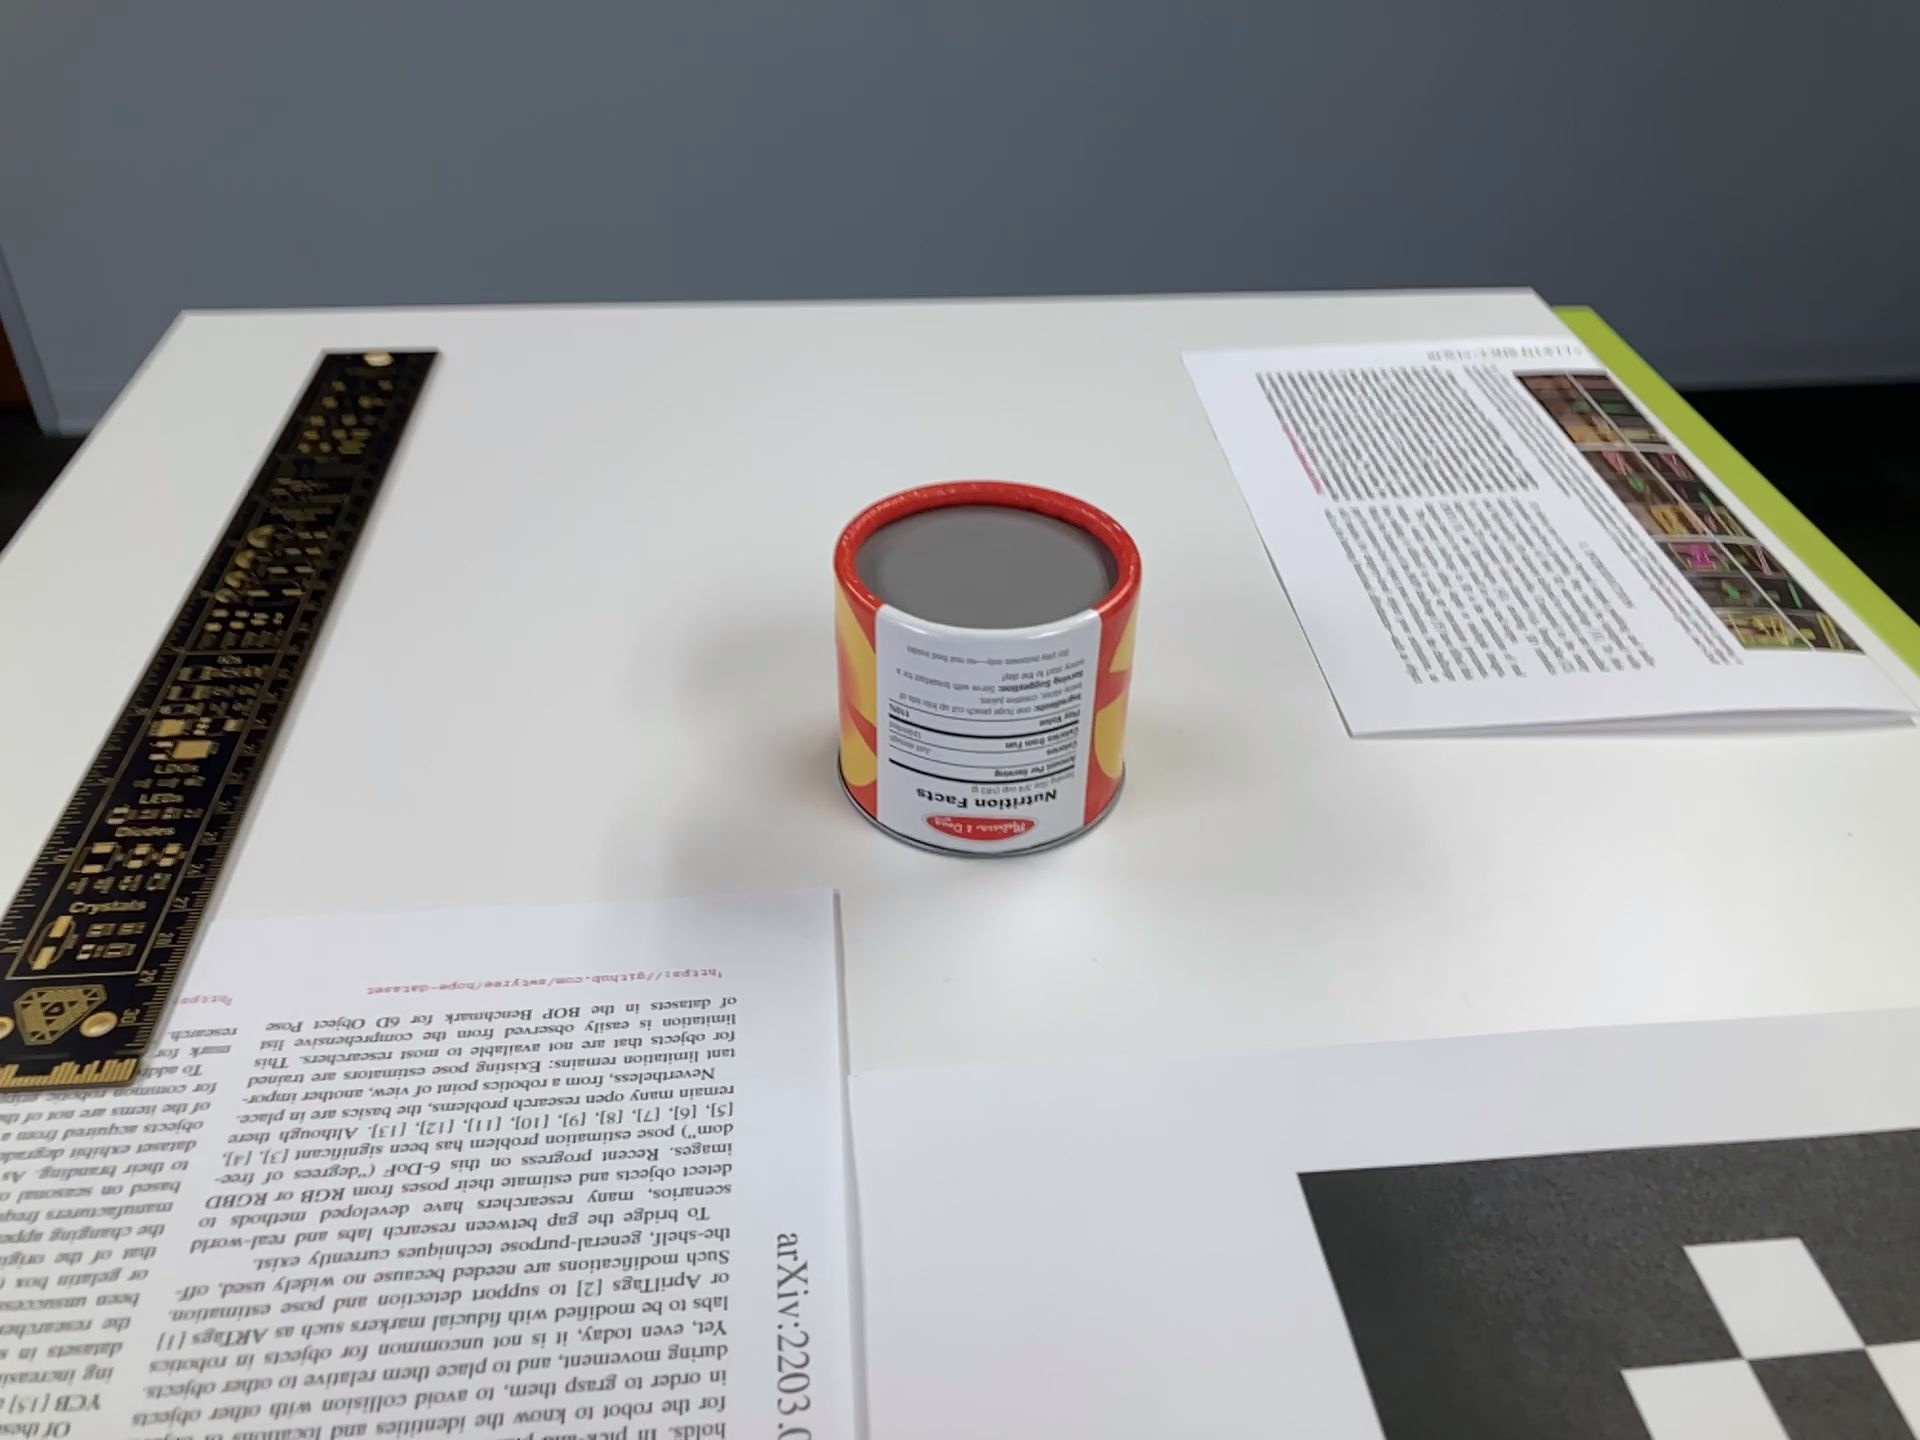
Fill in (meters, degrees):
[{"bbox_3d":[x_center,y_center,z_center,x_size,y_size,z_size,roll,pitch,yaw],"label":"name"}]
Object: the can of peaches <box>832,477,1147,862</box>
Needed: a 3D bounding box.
[{"bbox_3d":[0.005,-0.014,0.345,0.071,0.058,0.071,1,37,0],"label":"can of peaches"}]
